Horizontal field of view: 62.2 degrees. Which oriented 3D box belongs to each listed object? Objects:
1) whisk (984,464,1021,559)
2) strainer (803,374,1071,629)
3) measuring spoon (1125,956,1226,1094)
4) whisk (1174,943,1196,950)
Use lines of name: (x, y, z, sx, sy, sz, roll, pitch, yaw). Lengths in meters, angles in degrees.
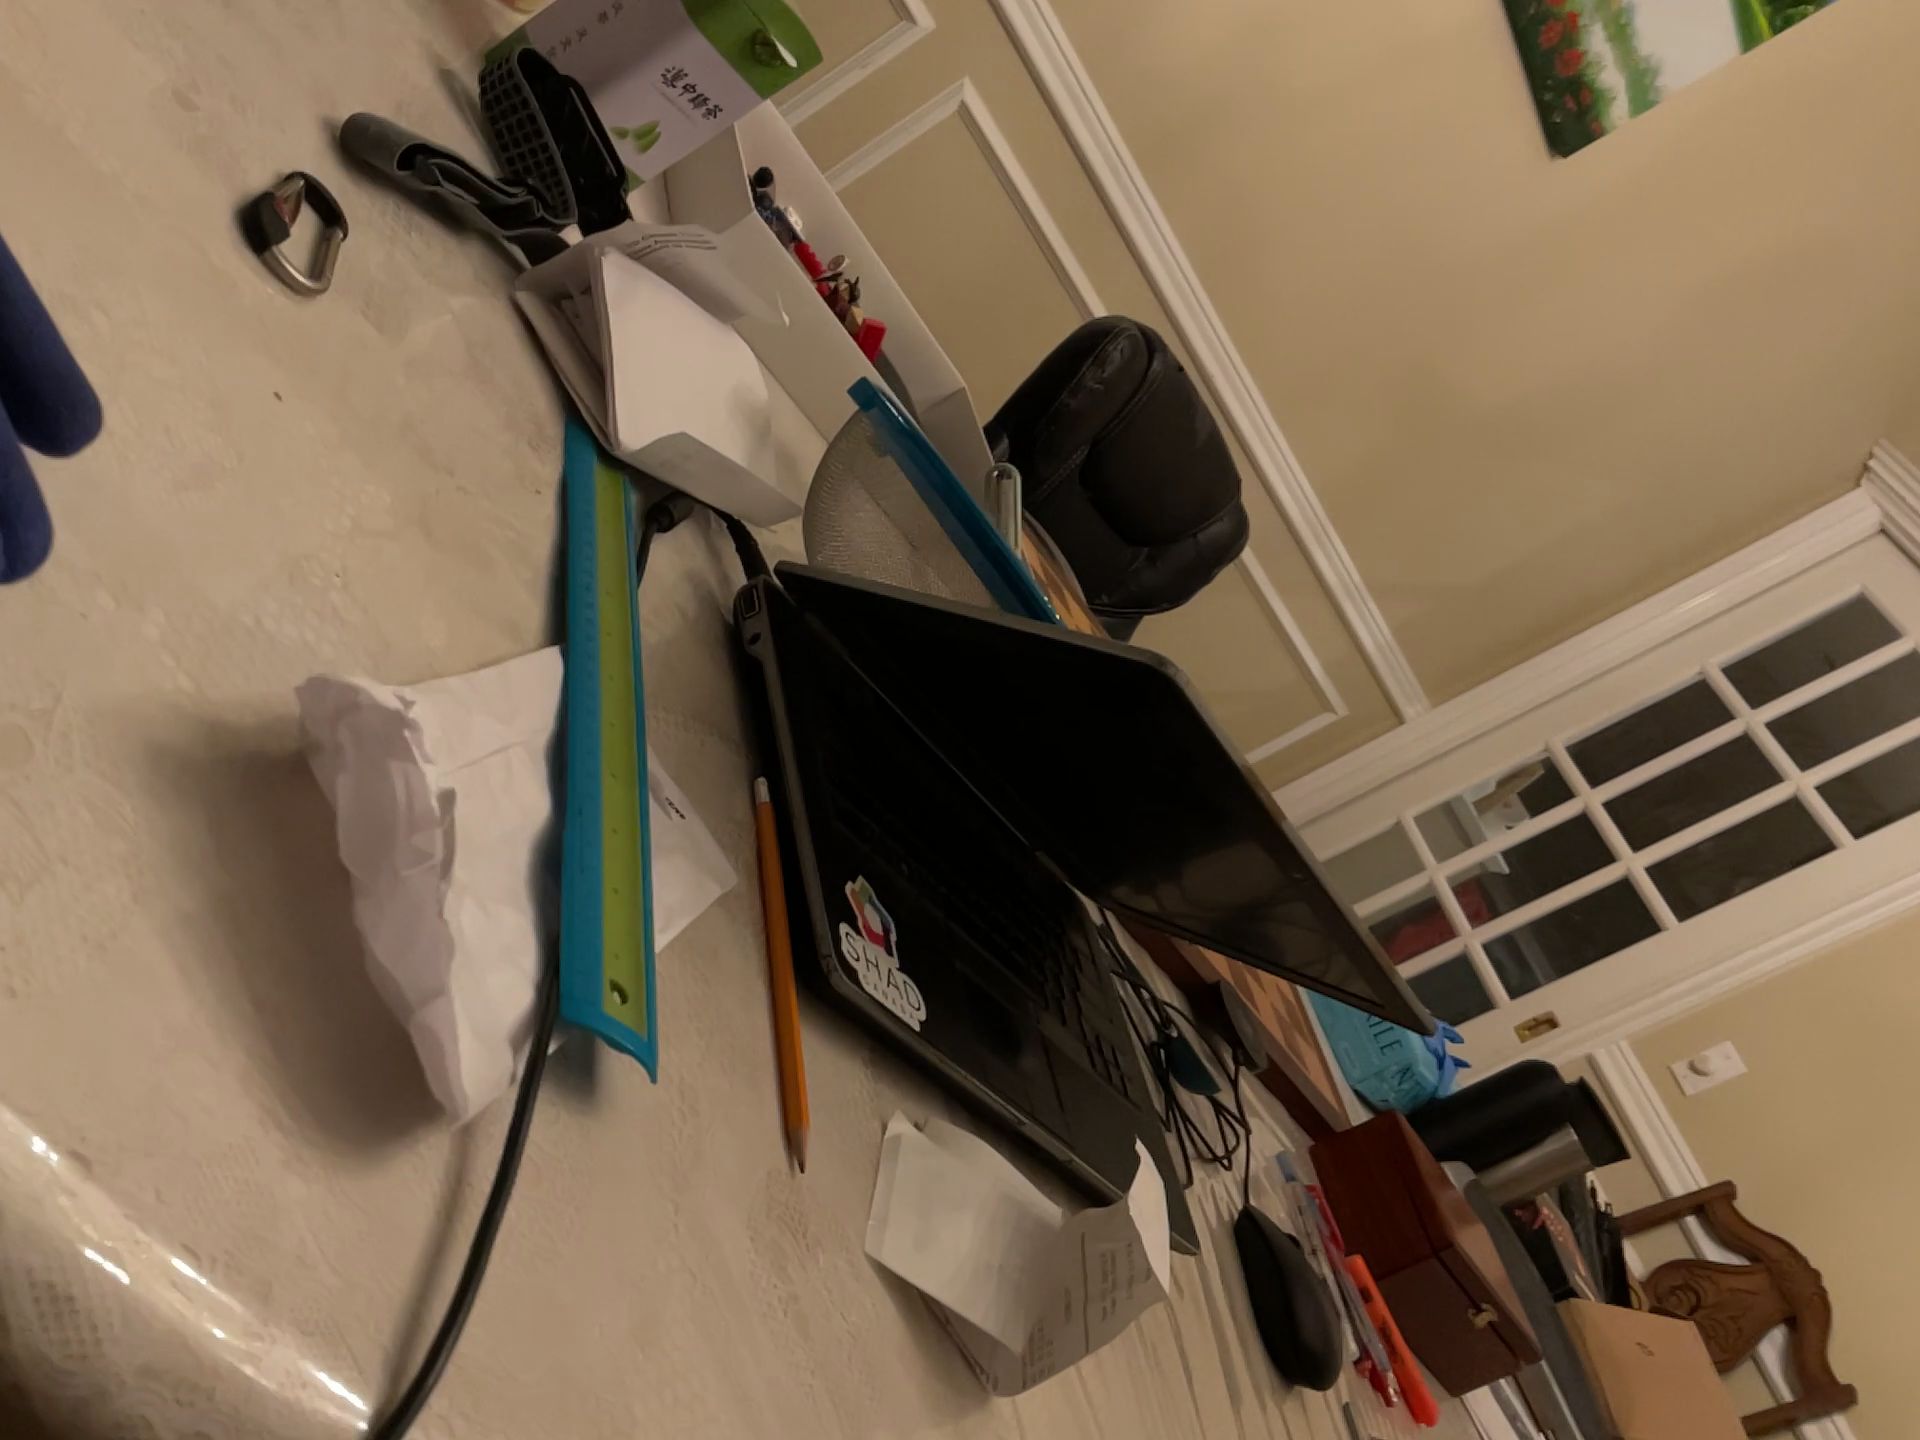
whisk: (0.027, -0.077, 1.025, 0.059, 0.058, 0.246, 91, 0, -52)
strainer: (0.019, -0.012, 0.826, 0.340, 0.095, 0.211, 55, 1, -3)
measuring spoon: (0.119, 0.181, 0.986, 0.129, 0.021, 0.042, 54, 2, 25)
whisk: (0.173, 0.124, 1.177, 0.239, 0.055, 0.055, -40, 114, -80)
